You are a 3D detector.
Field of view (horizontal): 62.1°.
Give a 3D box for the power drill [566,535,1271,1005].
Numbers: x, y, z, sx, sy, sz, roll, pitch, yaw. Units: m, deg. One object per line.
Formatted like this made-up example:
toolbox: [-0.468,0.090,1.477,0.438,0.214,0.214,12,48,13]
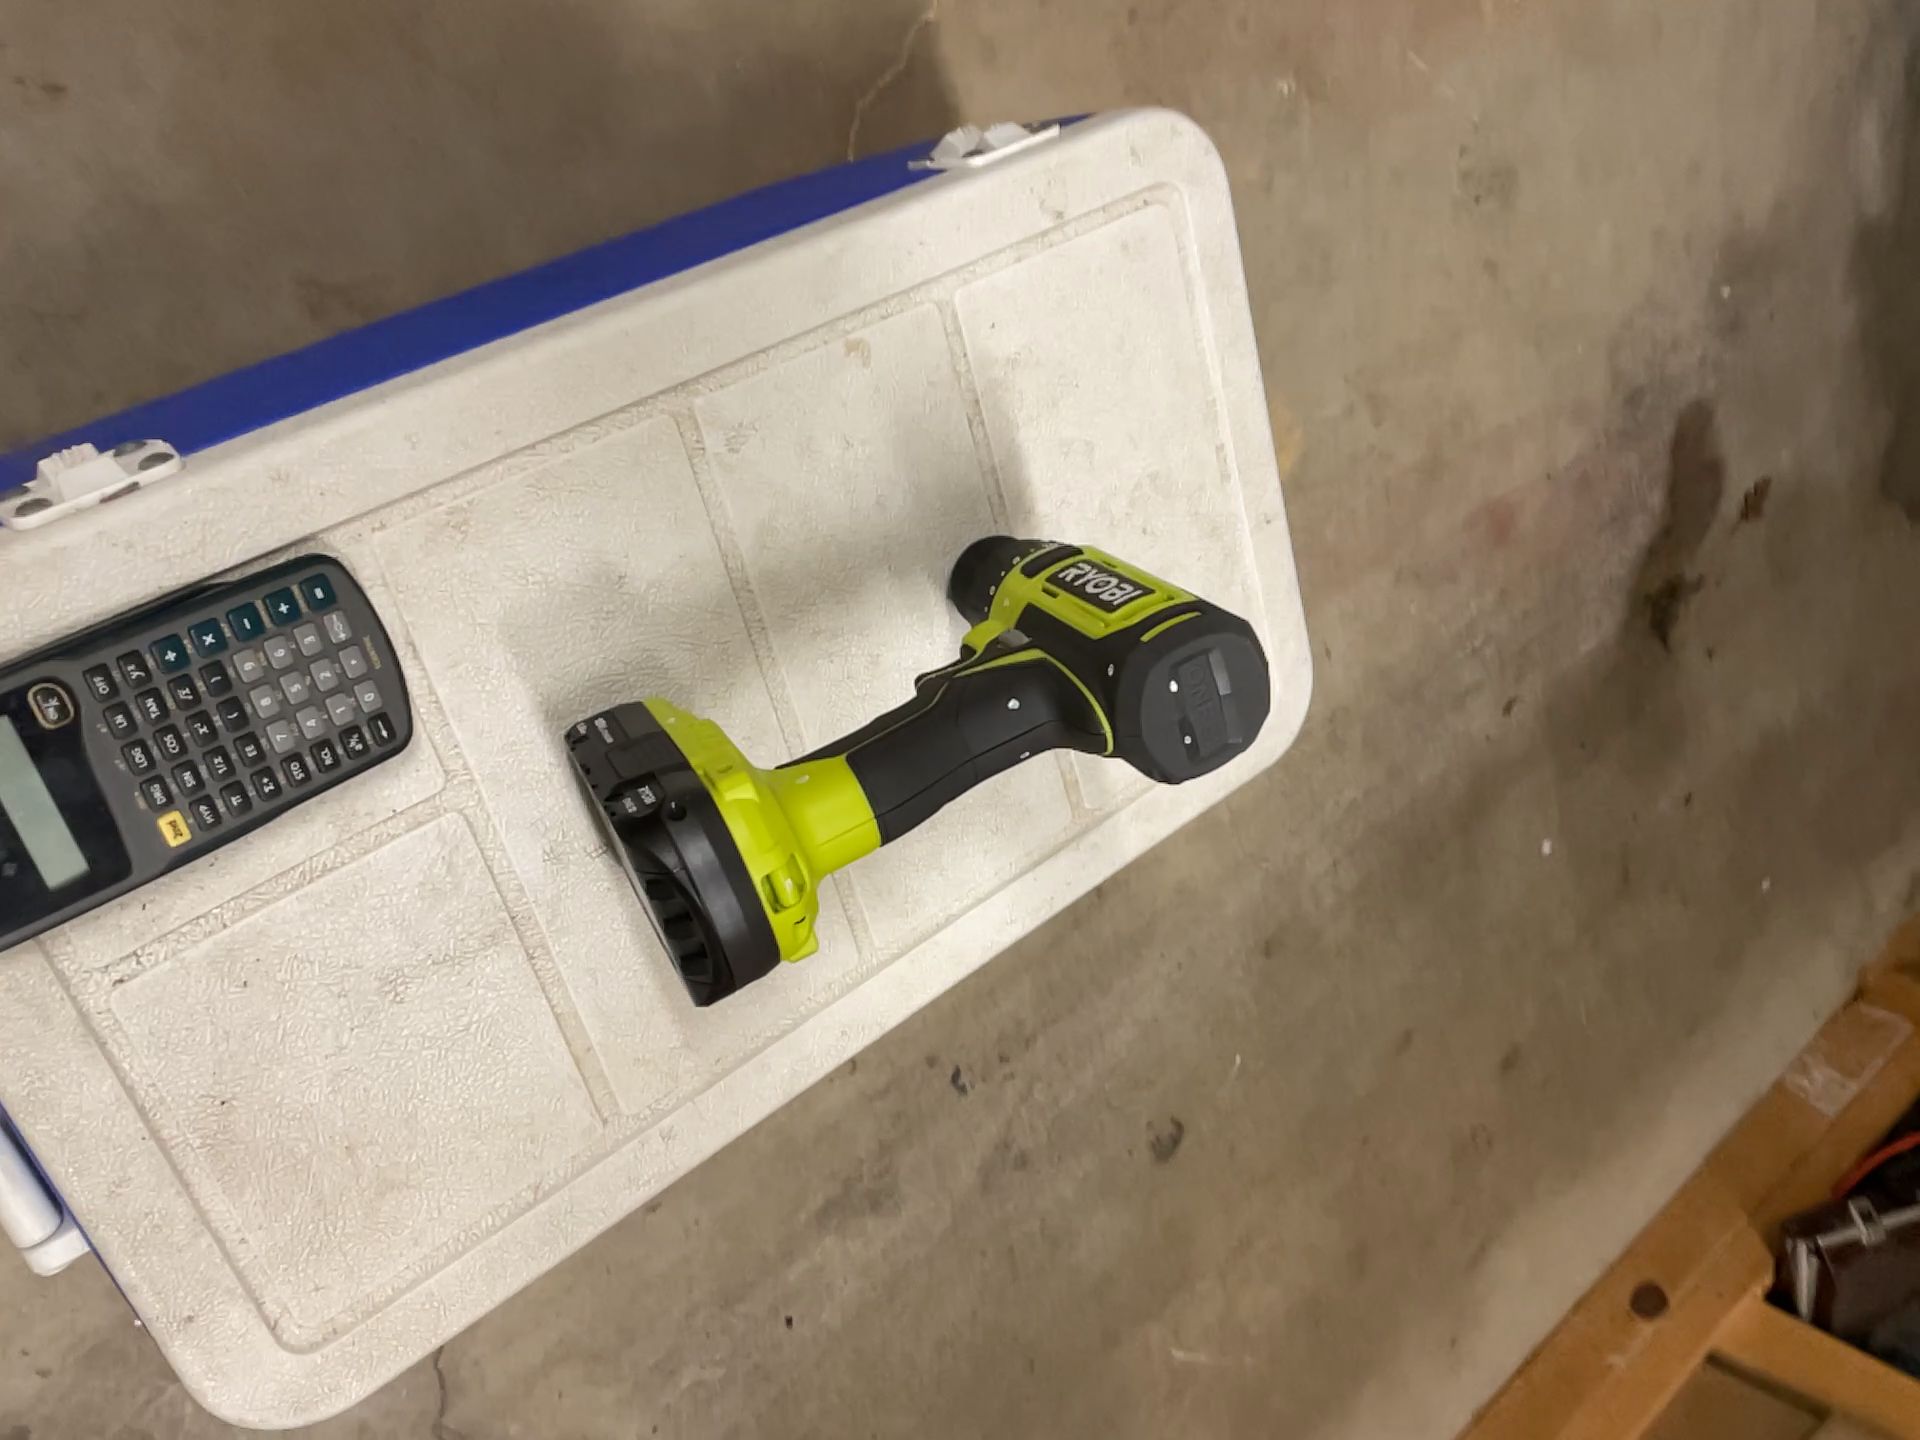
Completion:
power drill: [-0.023,-0.001,0.604,0.229,0.190,0.080,-26,117,-15]
